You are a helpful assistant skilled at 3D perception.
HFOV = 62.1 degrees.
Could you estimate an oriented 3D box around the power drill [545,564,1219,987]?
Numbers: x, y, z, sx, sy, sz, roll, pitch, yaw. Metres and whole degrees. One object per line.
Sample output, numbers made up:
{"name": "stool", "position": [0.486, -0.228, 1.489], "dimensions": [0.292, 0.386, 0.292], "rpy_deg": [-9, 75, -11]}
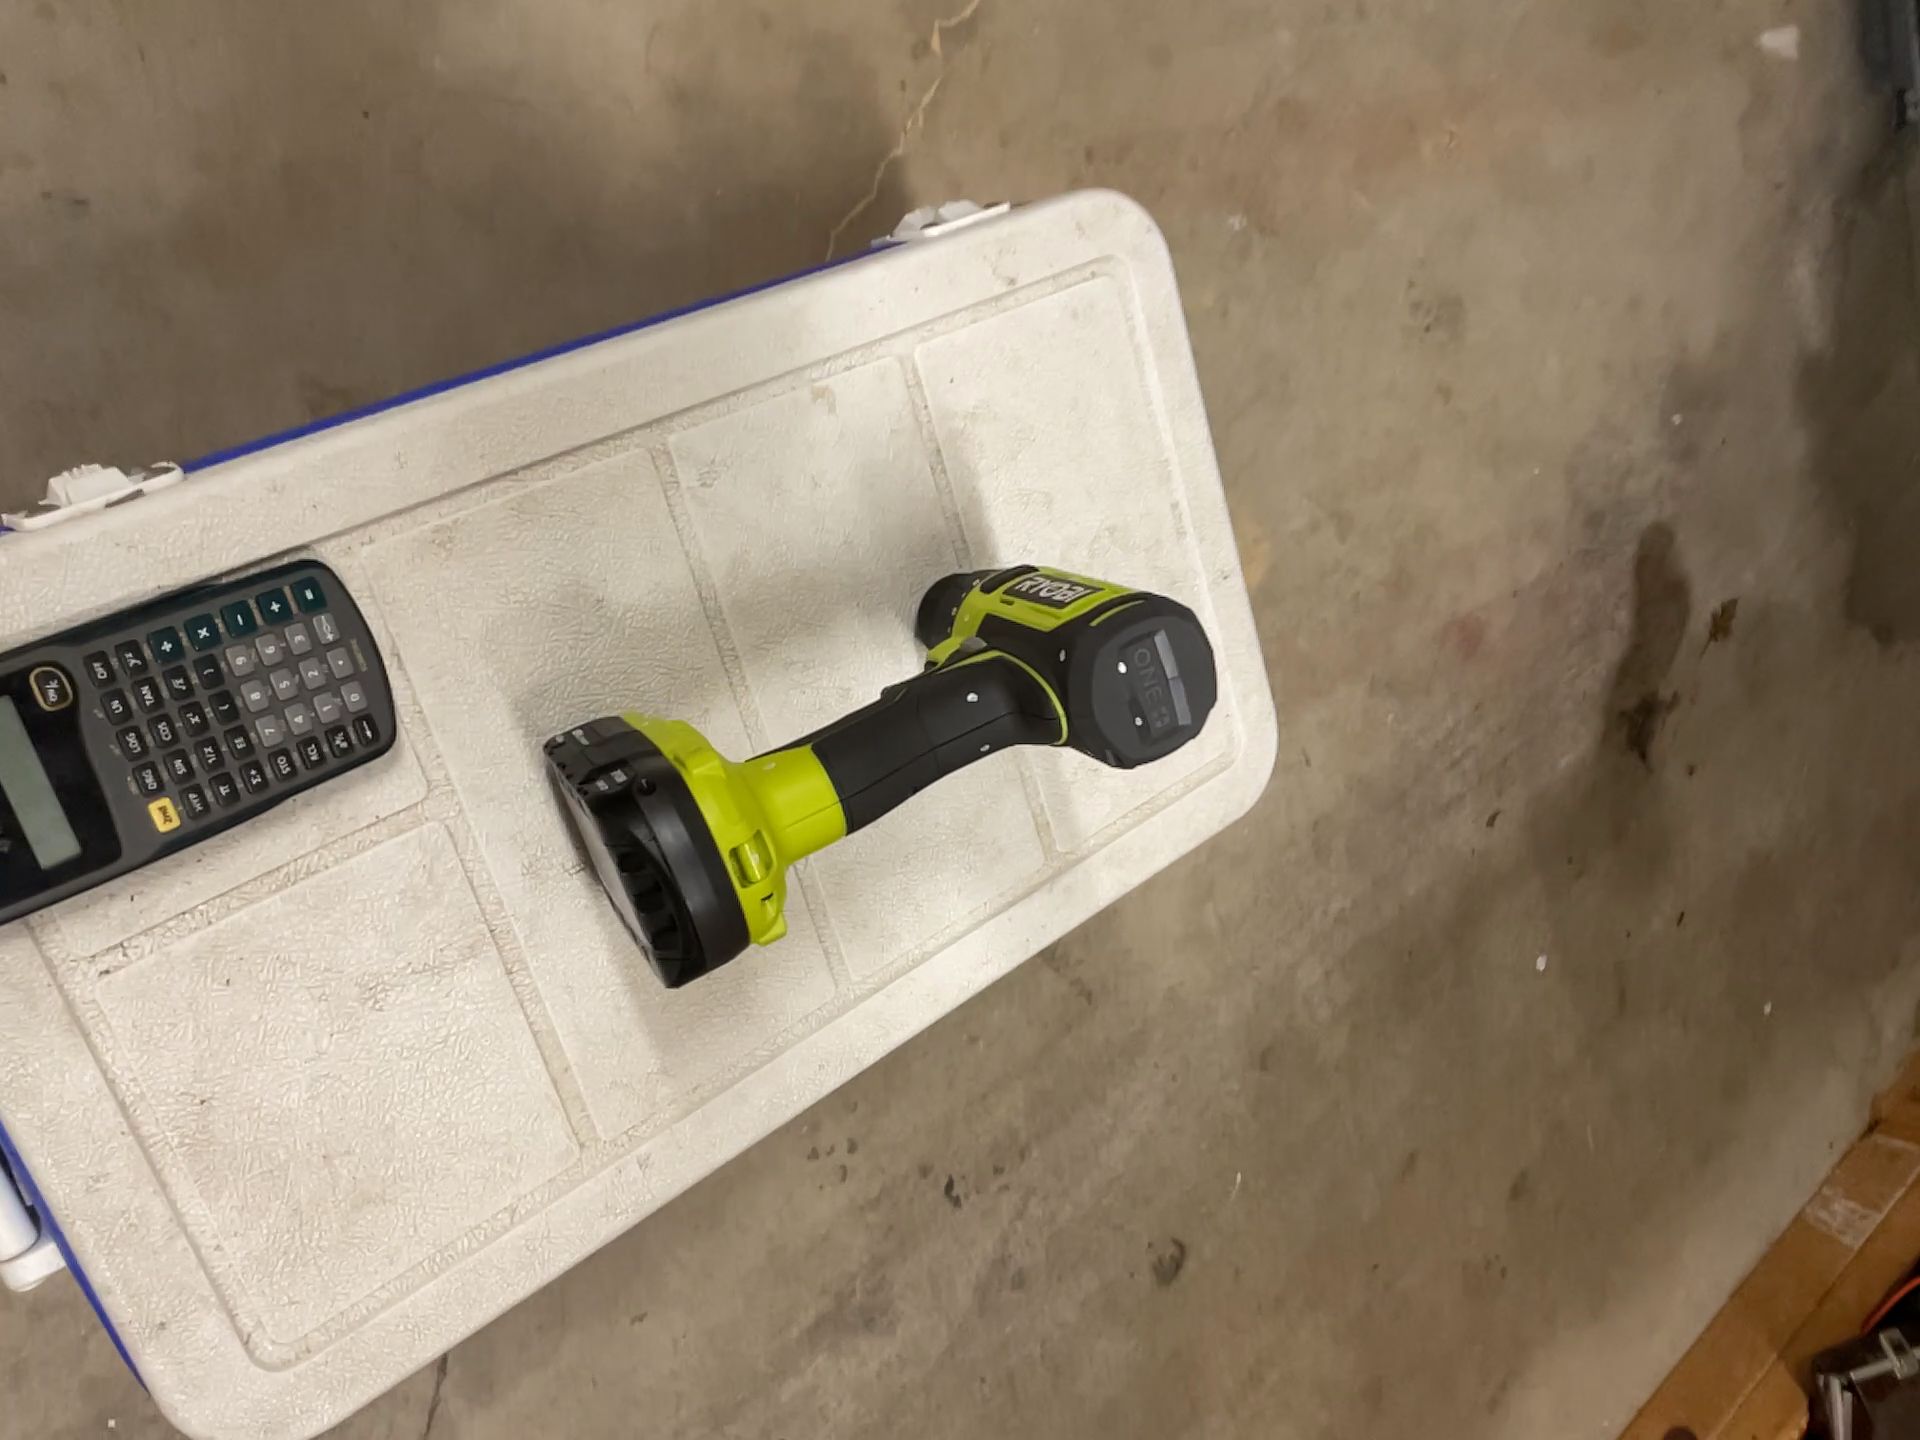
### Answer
{"name": "power drill", "position": [-0.037, 0.002, 0.629], "dimensions": [0.229, 0.190, 0.080], "rpy_deg": [-25, 110, -17]}
